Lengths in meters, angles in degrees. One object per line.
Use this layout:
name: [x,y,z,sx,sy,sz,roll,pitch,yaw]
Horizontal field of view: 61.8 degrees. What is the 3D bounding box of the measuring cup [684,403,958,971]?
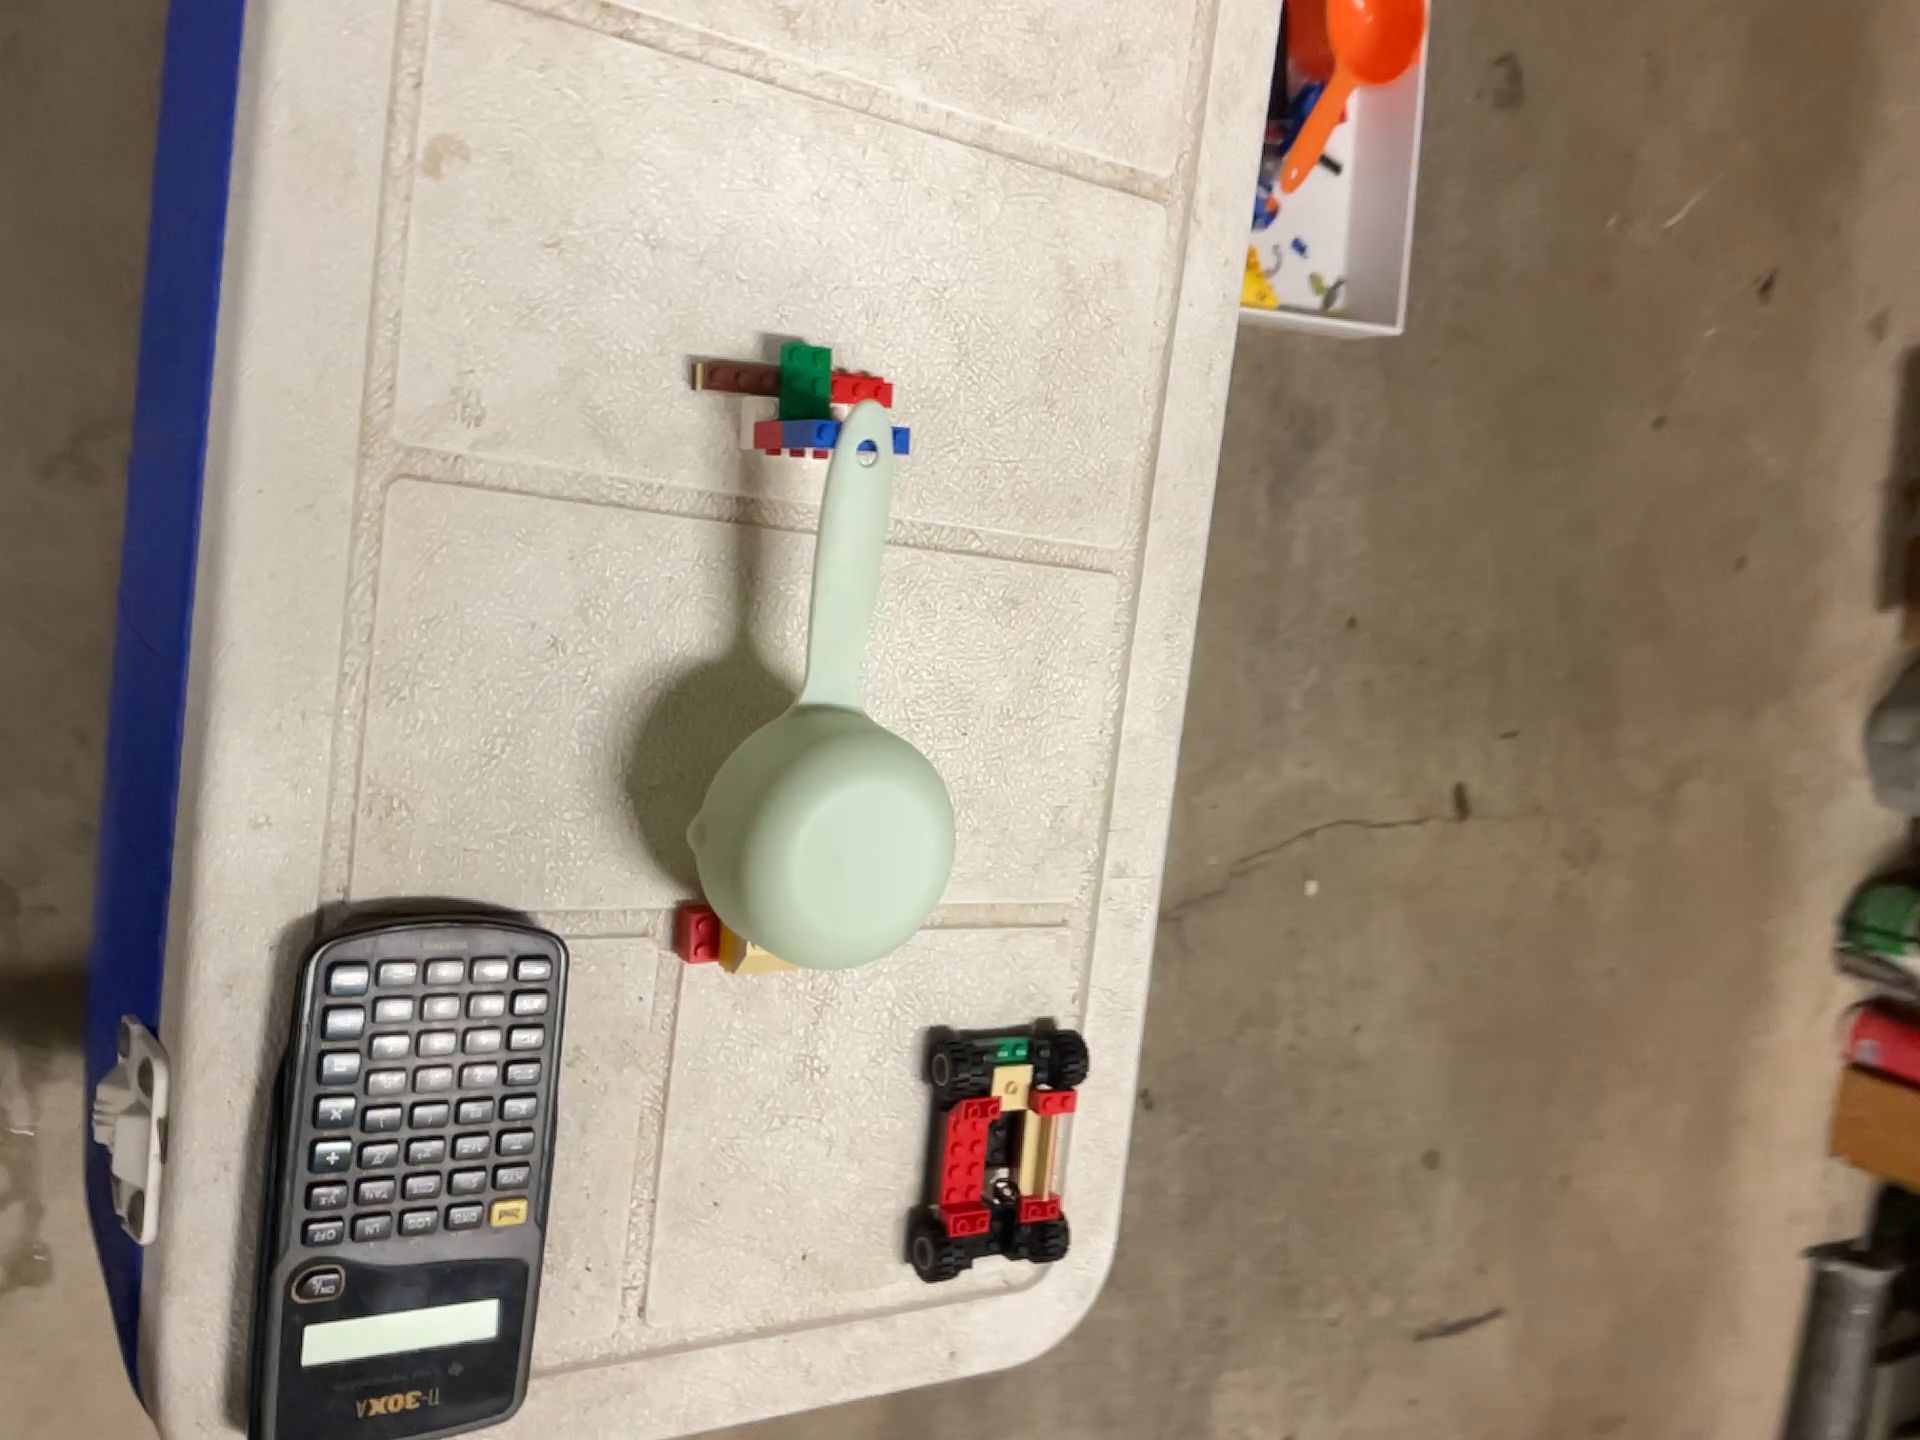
measuring cup: [-0.030,-0.007,0.467,0.083,0.038,0.167,1,103,-34]
